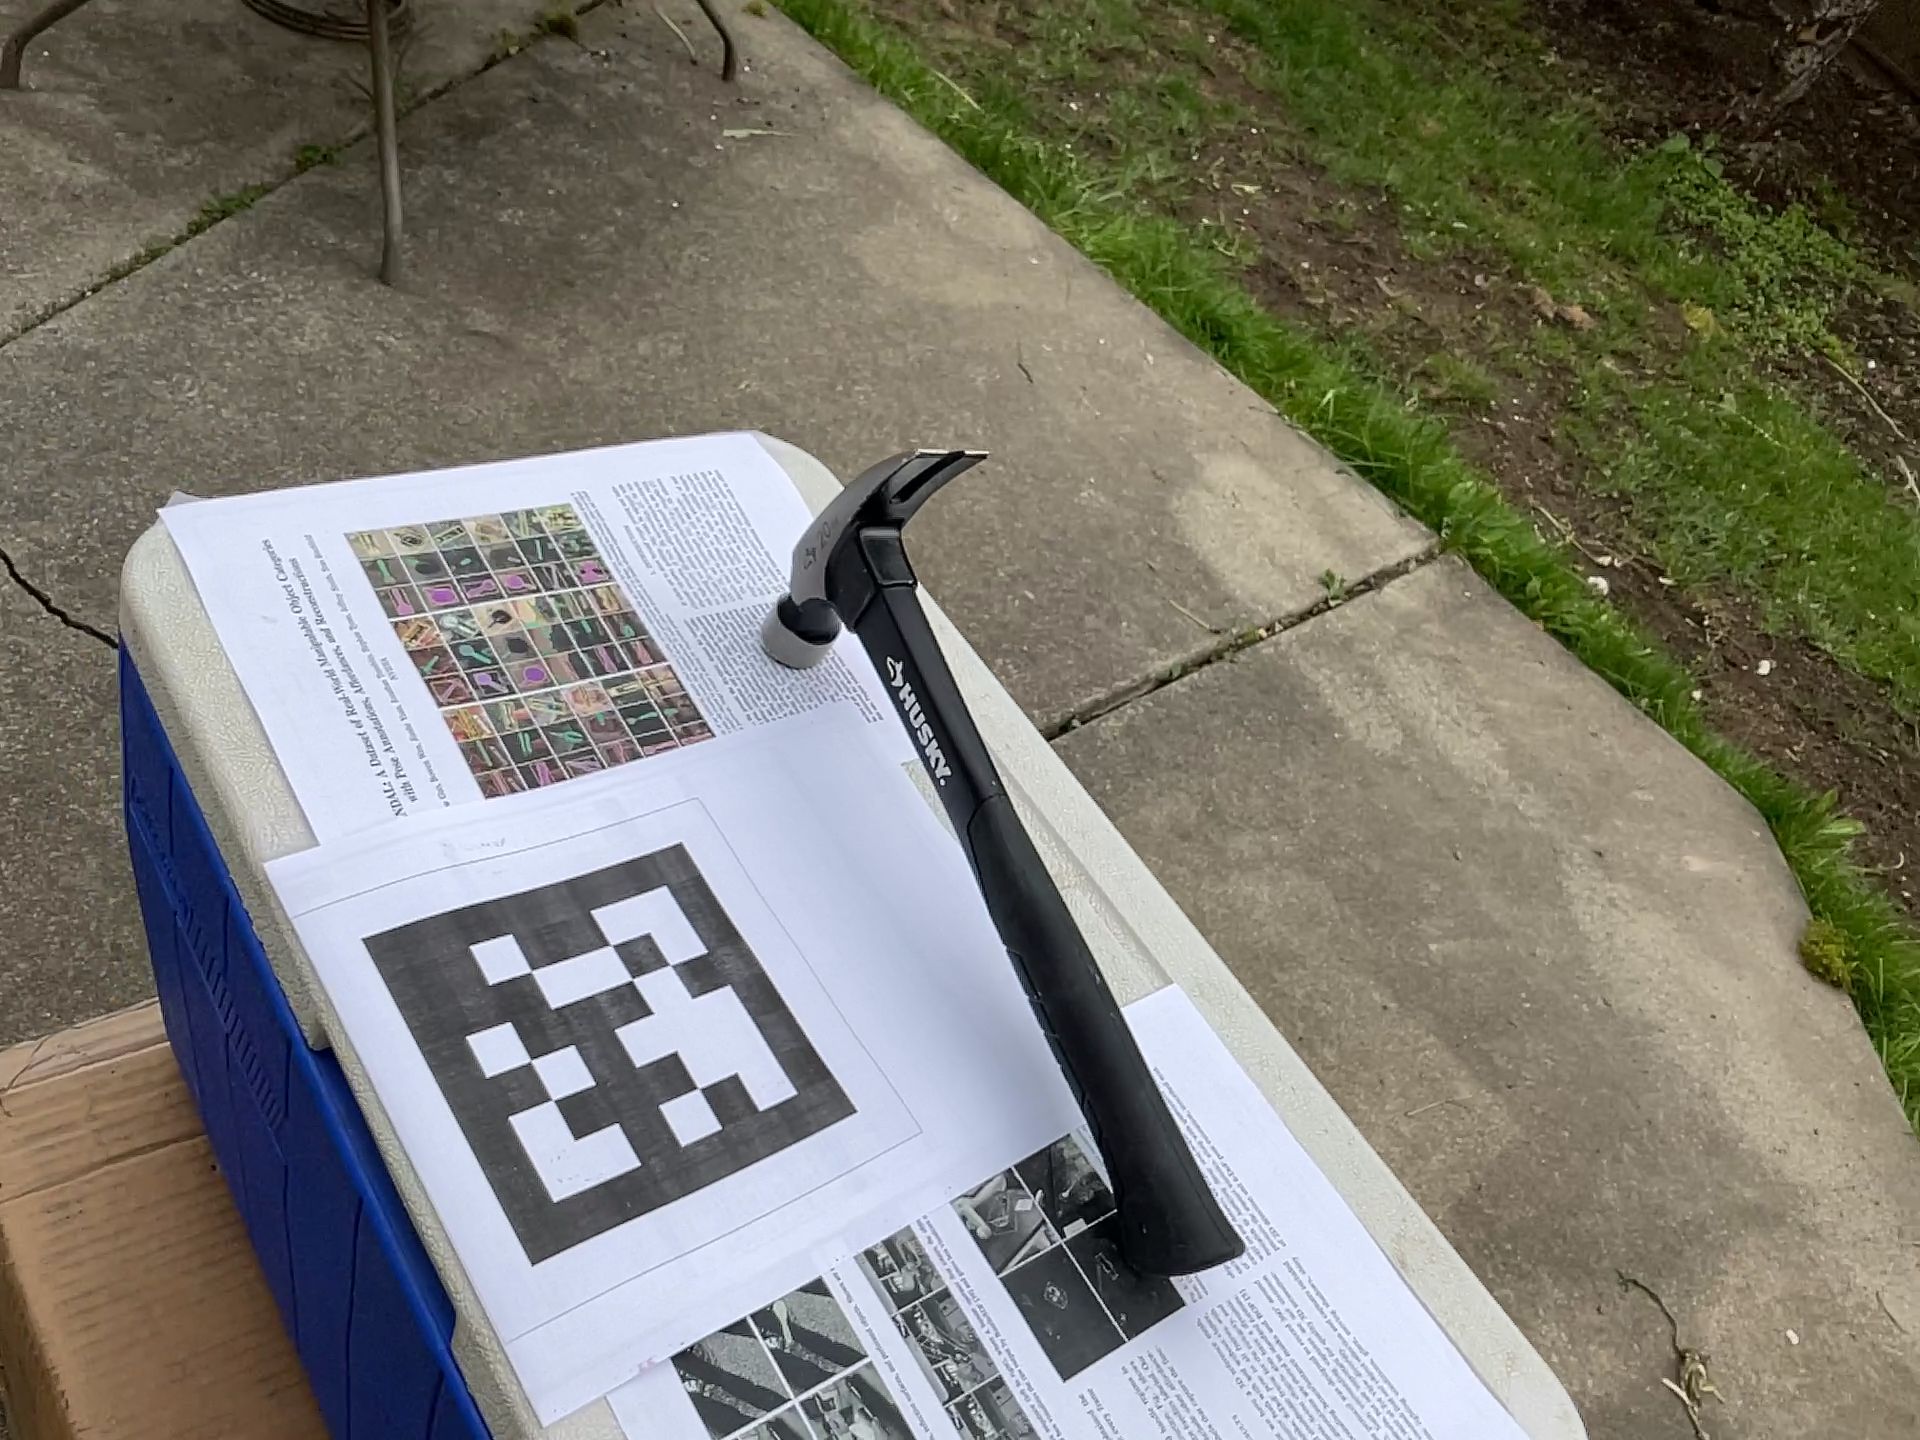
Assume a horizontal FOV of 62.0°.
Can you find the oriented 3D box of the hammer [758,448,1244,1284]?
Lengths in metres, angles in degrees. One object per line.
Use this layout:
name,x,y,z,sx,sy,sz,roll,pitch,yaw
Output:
hammer,0.017,0.049,0.603,0.035,0.146,0.335,-6,59,-37
